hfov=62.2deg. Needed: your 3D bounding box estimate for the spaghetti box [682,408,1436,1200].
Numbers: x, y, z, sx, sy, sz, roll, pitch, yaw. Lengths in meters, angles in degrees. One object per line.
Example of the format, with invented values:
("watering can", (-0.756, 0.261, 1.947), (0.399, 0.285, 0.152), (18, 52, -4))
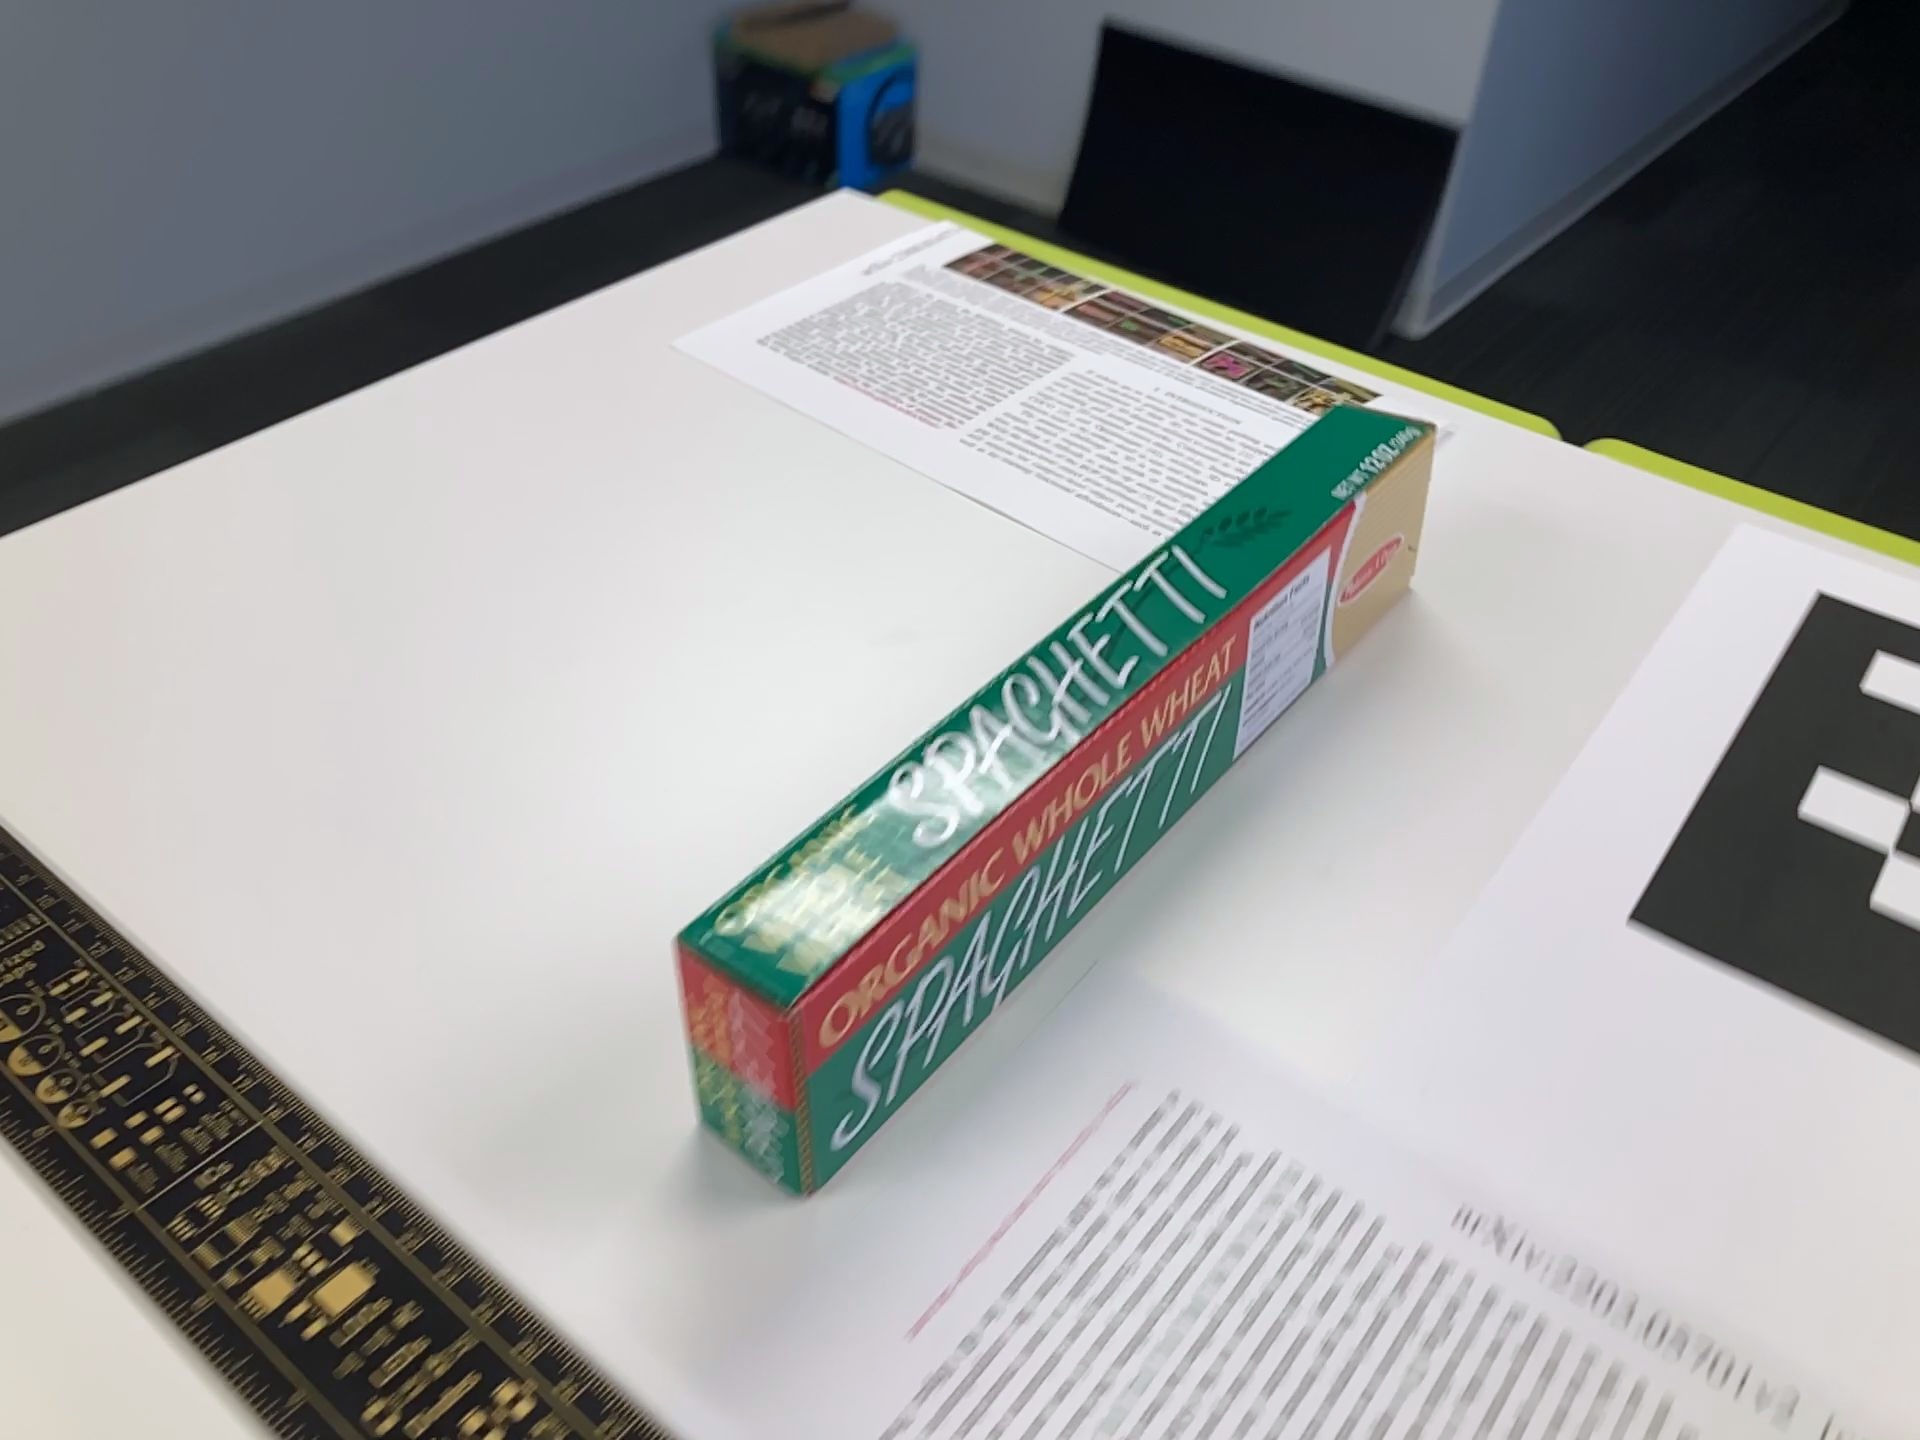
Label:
("spaghetti box", (0.037, 0.001, 0.350), (0.028, 0.050, 0.250), (24, 44, 30))
